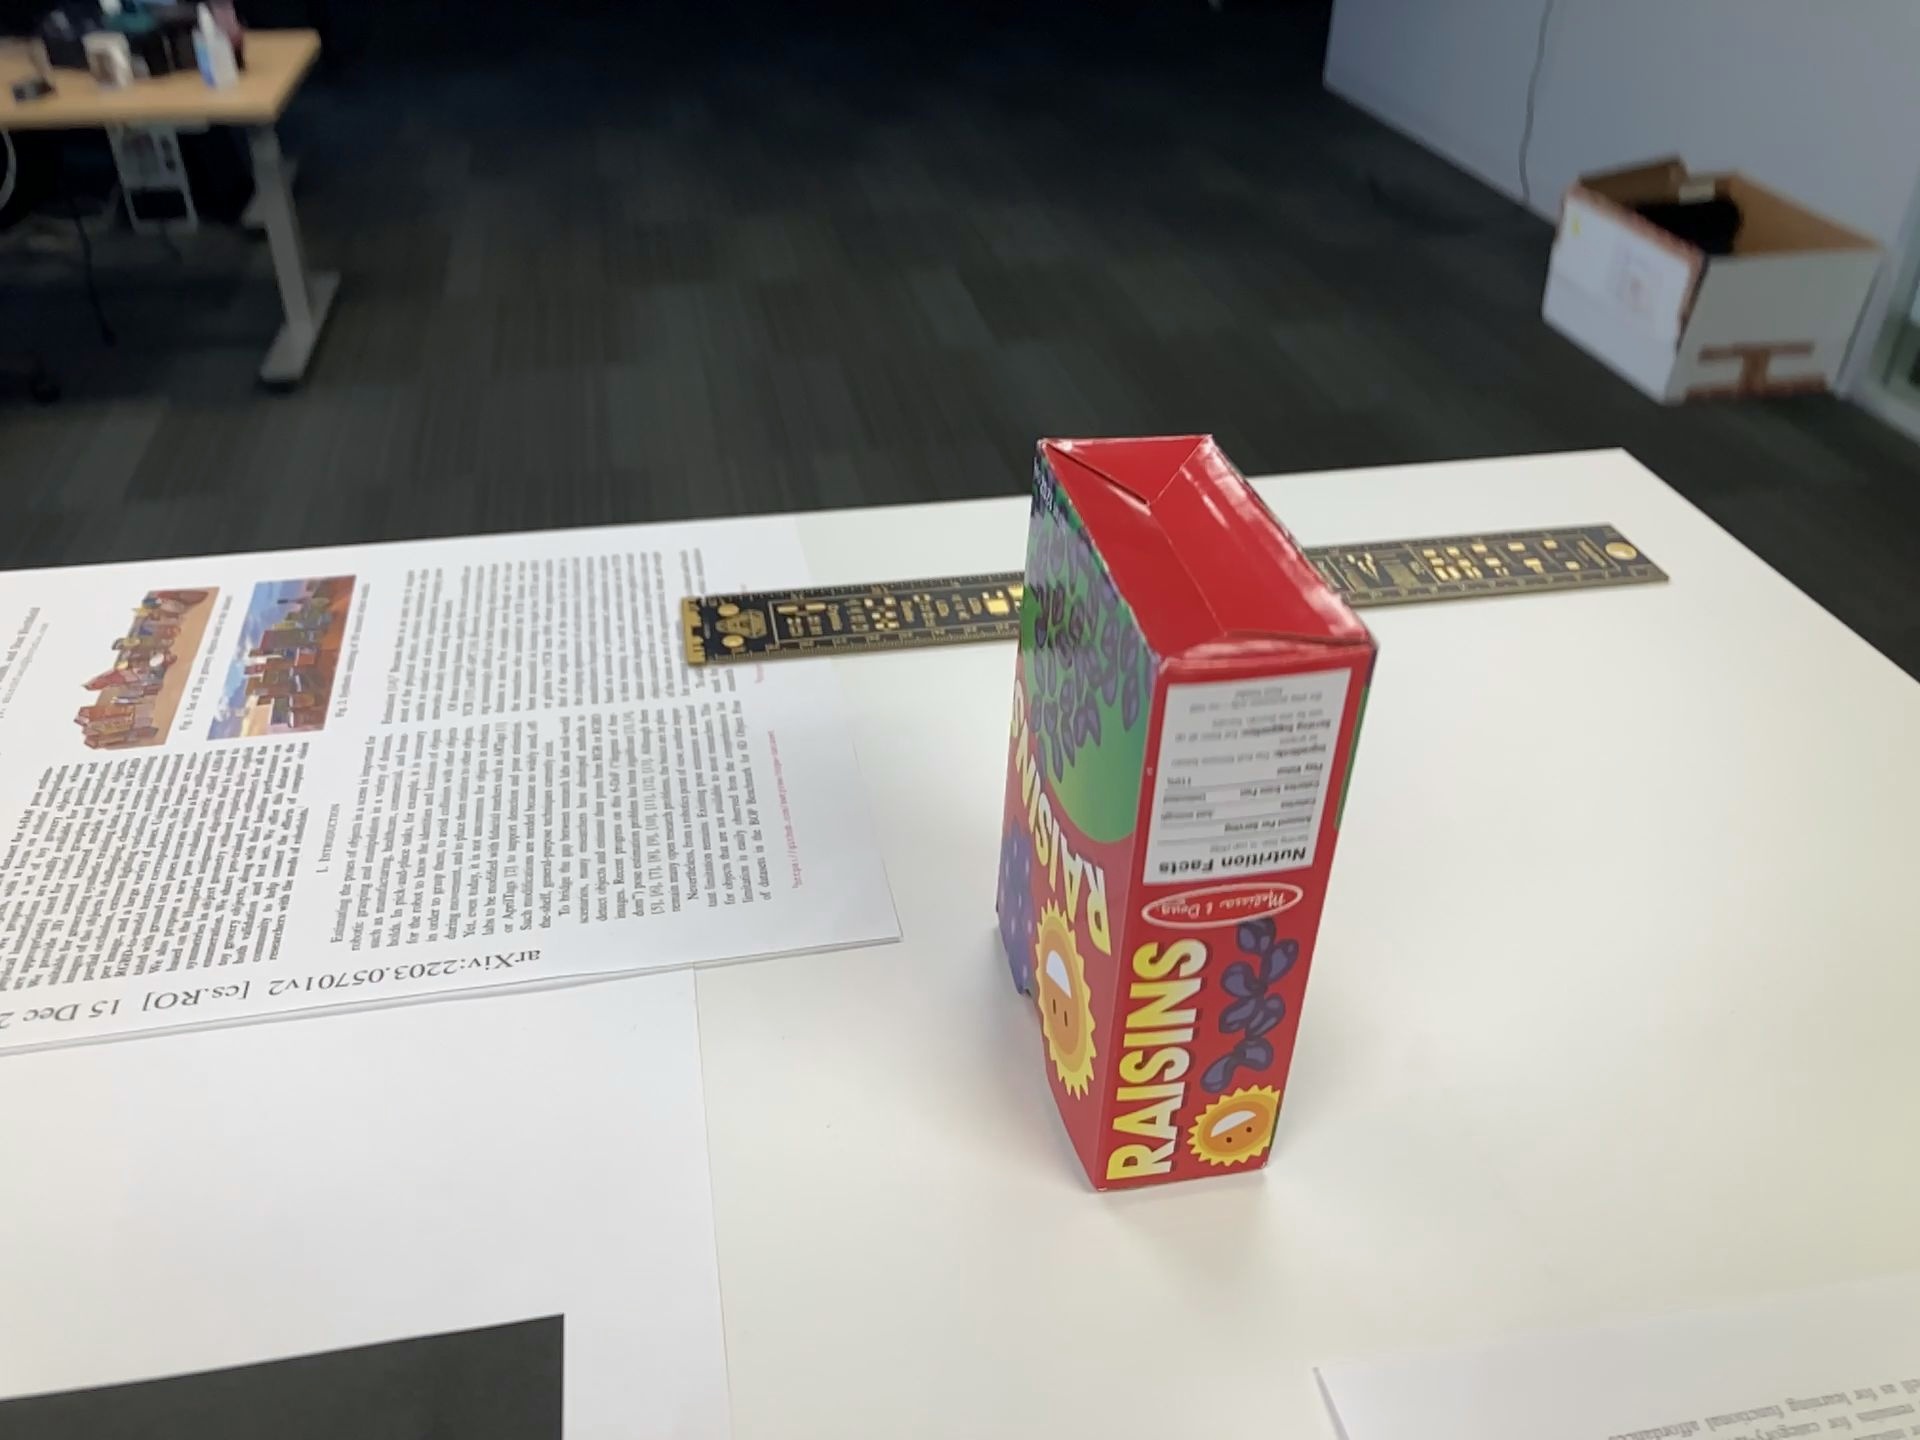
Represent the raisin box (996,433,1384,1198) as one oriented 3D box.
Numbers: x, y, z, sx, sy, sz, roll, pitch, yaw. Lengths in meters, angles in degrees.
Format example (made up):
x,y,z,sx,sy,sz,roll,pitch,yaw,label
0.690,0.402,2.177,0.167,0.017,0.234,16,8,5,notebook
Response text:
x,y,z,sx,sy,sz,roll,pitch,yaw,label
0.037,0.018,0.311,0.040,0.123,0.086,-5,35,-12,raisin box
